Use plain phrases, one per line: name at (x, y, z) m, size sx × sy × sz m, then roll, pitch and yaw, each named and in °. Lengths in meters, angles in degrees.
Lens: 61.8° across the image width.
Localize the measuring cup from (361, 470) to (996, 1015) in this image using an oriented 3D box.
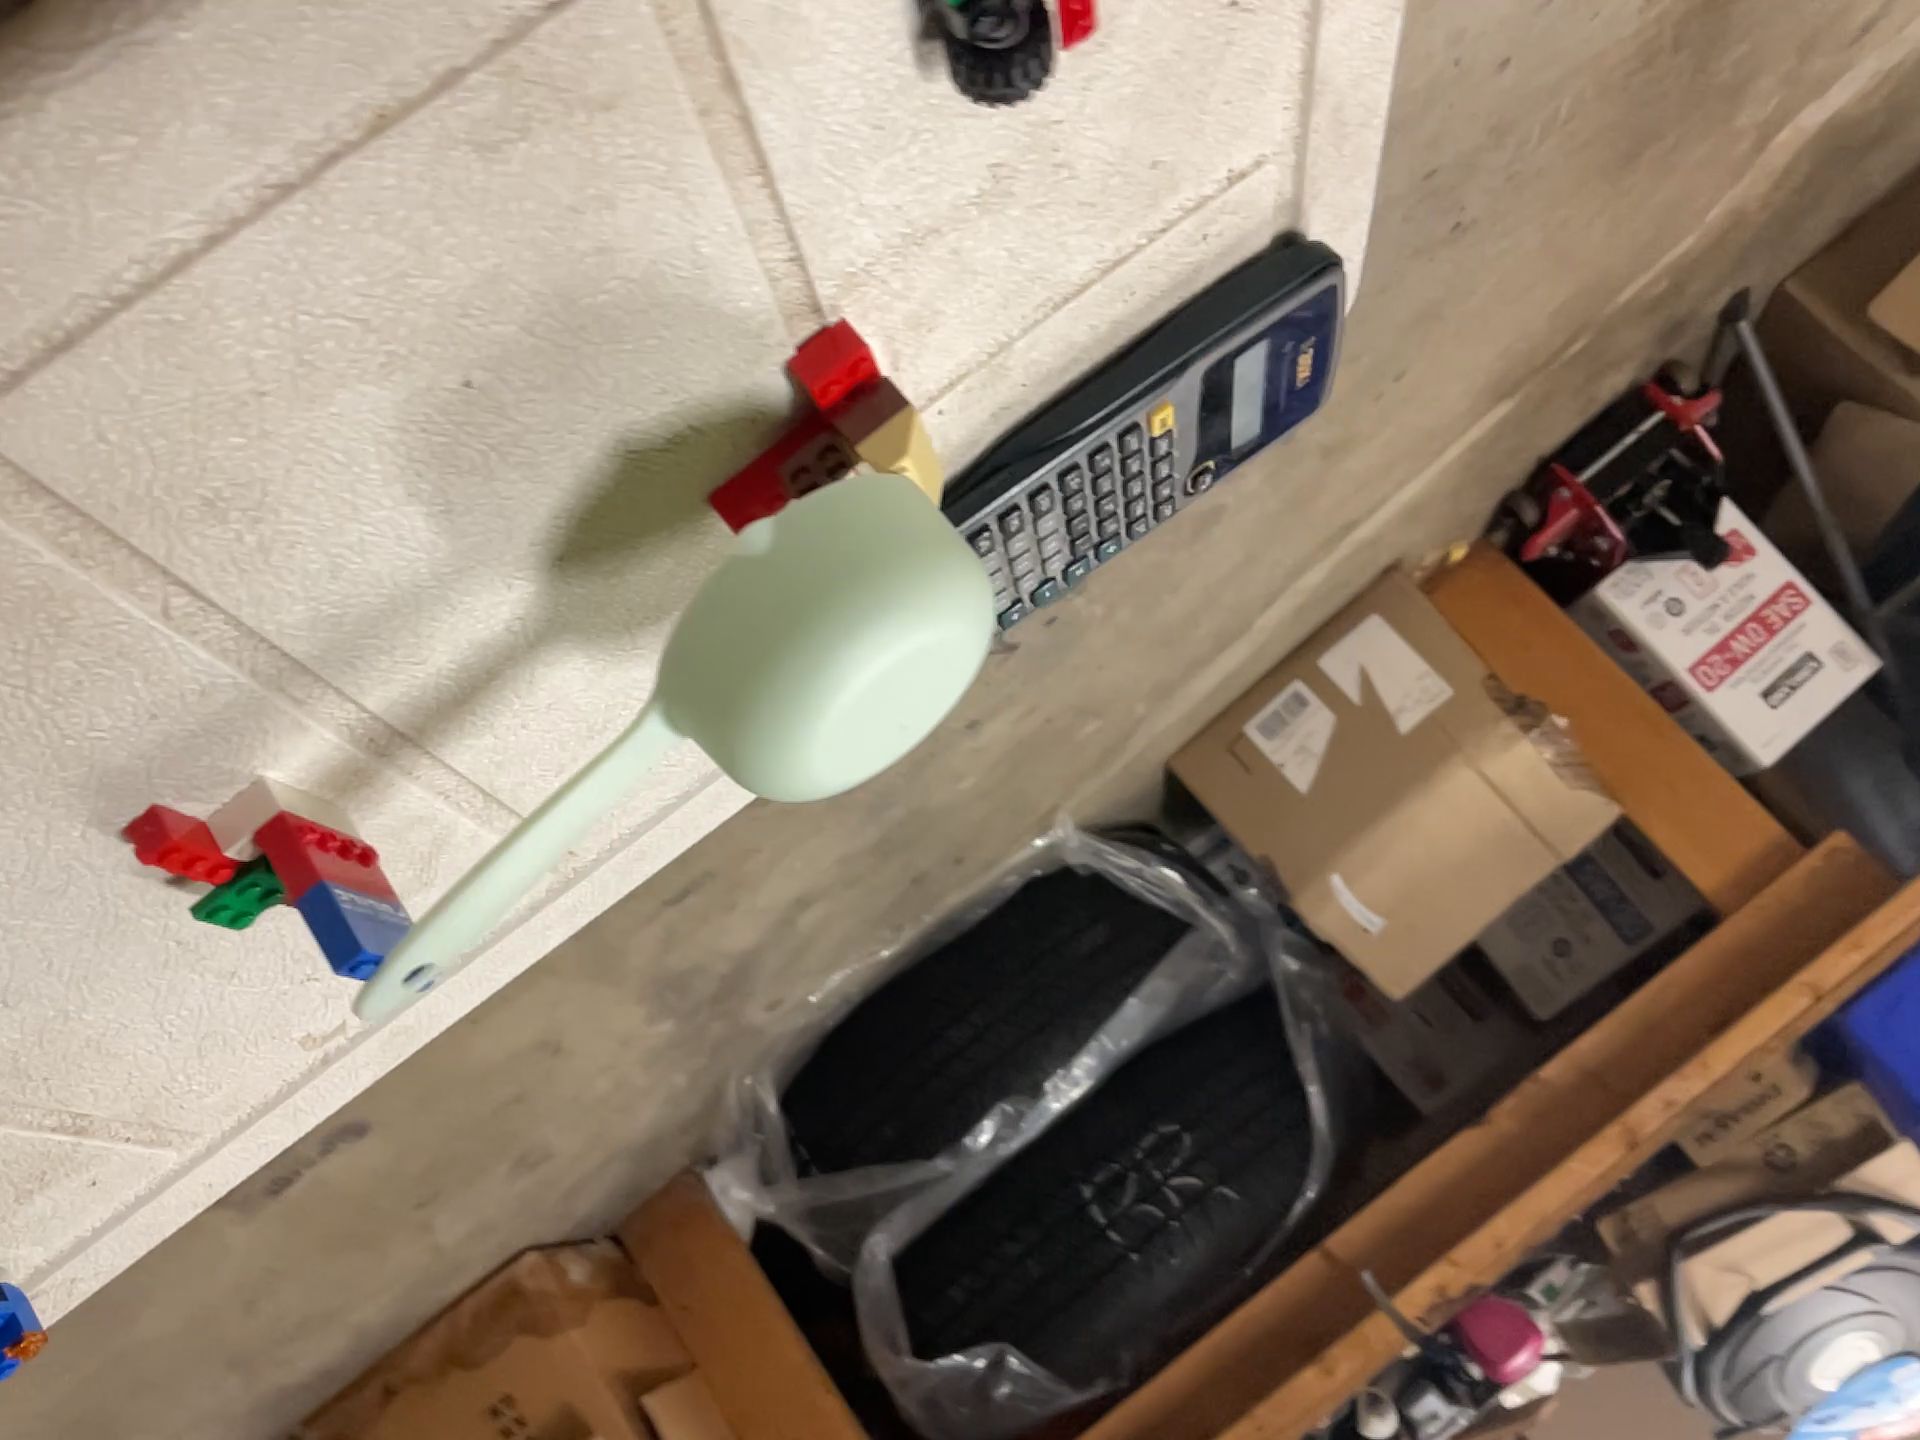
measuring cup at (-0.059, 0.016, 0.352) m, size 0.167 × 0.038 × 0.083 m, roll -43°, pitch 161°, yaw -6°
